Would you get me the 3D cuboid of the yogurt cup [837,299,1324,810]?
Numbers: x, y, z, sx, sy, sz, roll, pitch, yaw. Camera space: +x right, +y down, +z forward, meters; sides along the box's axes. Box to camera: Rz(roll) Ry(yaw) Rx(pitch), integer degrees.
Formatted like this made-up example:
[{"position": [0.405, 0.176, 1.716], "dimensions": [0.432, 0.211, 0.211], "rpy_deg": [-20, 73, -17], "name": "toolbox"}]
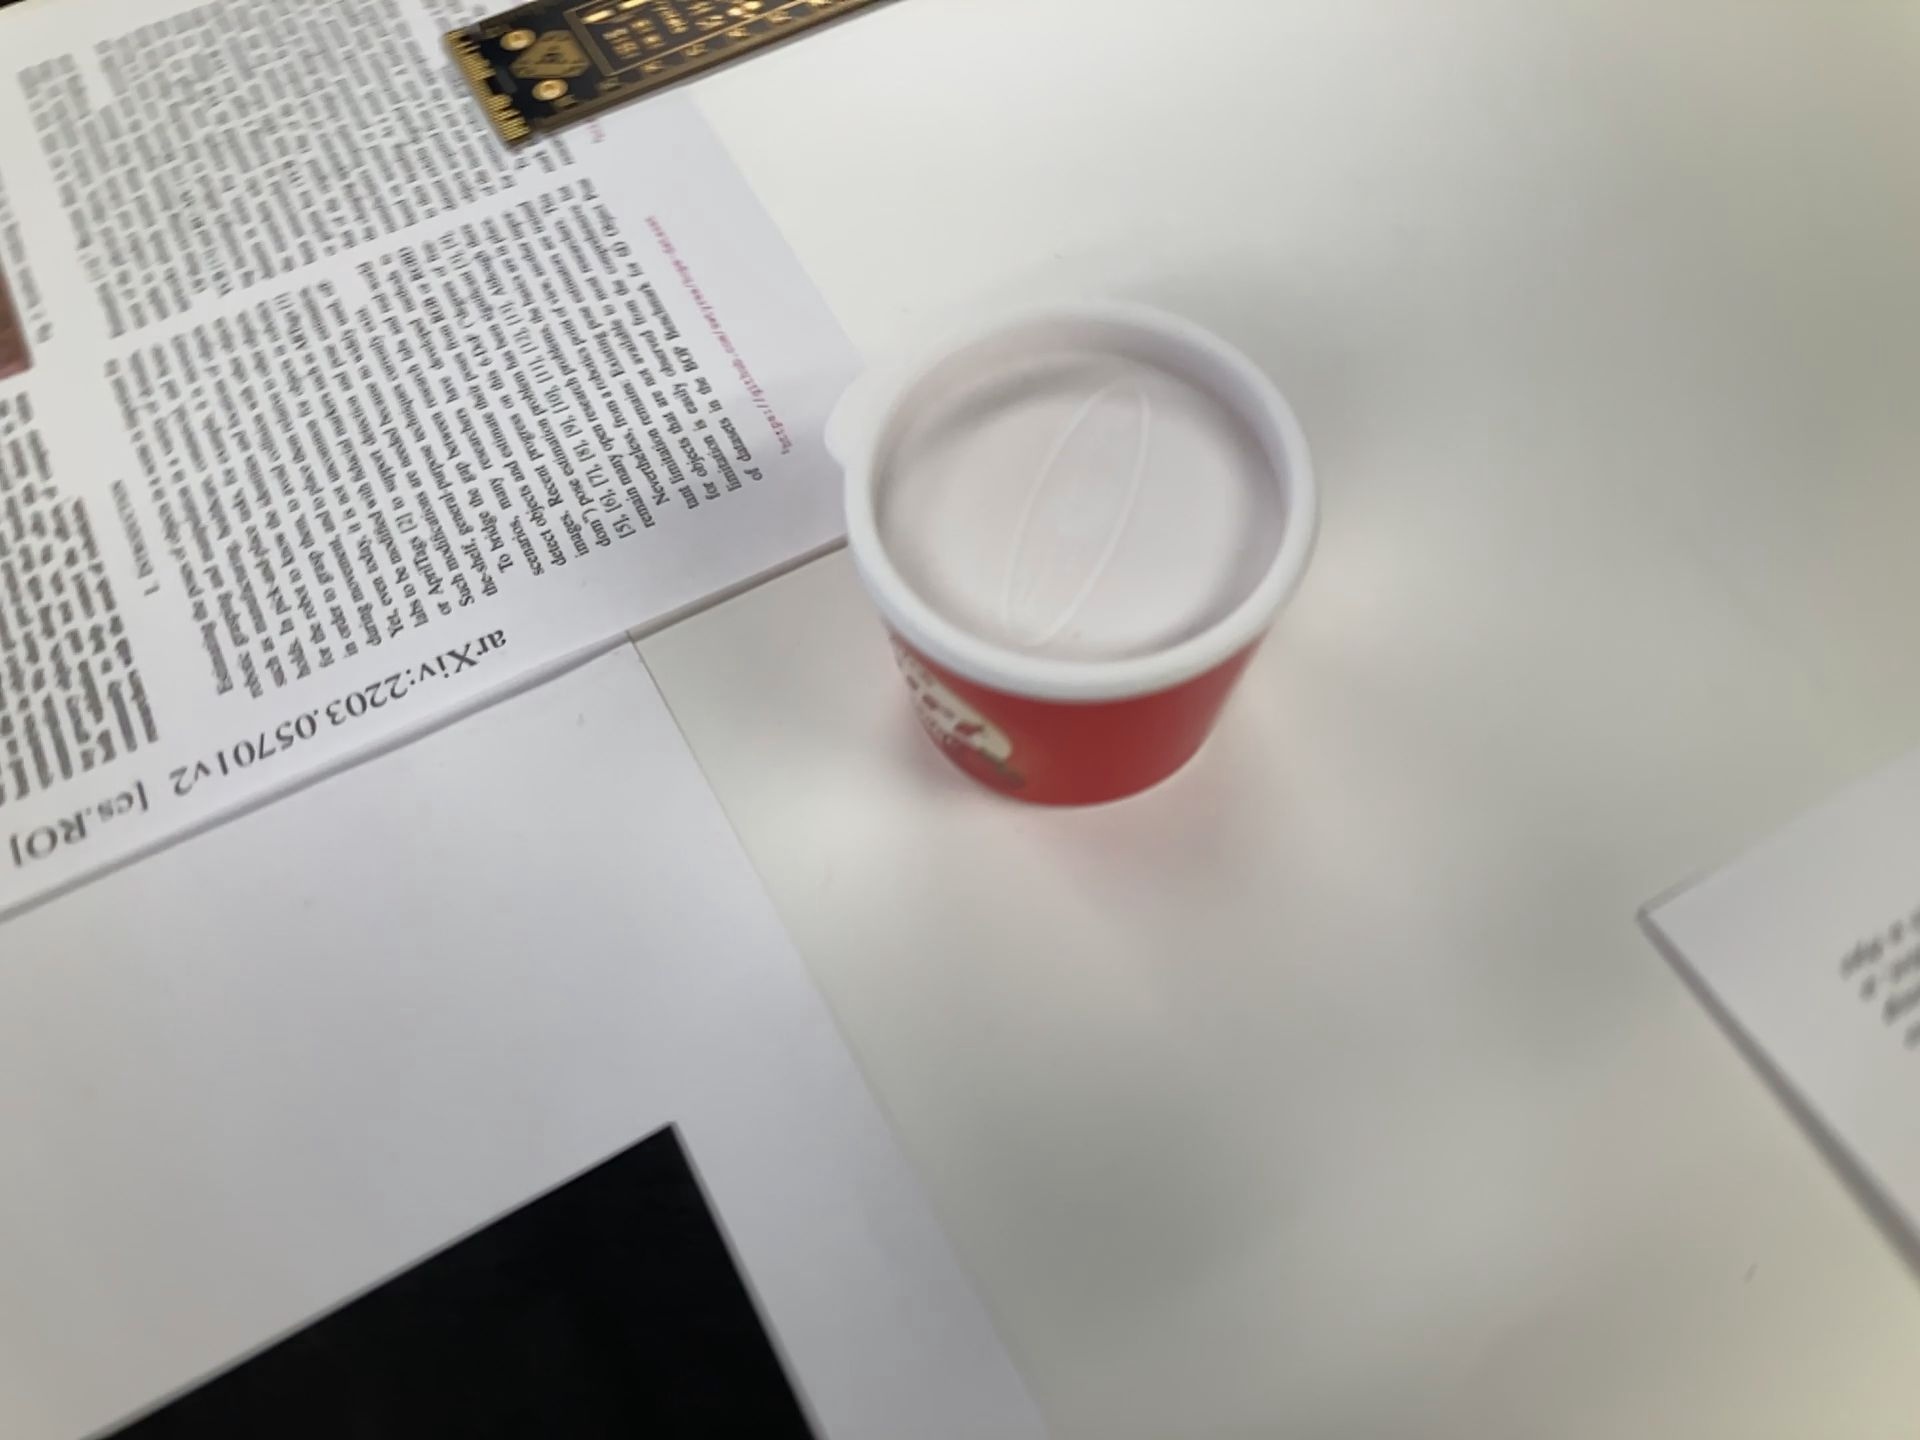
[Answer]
[{"position": [0.017, -0.022, 0.243], "dimensions": [0.072, 0.054, 0.072], "rpy_deg": [0, 63, 1], "name": "yogurt cup"}]
